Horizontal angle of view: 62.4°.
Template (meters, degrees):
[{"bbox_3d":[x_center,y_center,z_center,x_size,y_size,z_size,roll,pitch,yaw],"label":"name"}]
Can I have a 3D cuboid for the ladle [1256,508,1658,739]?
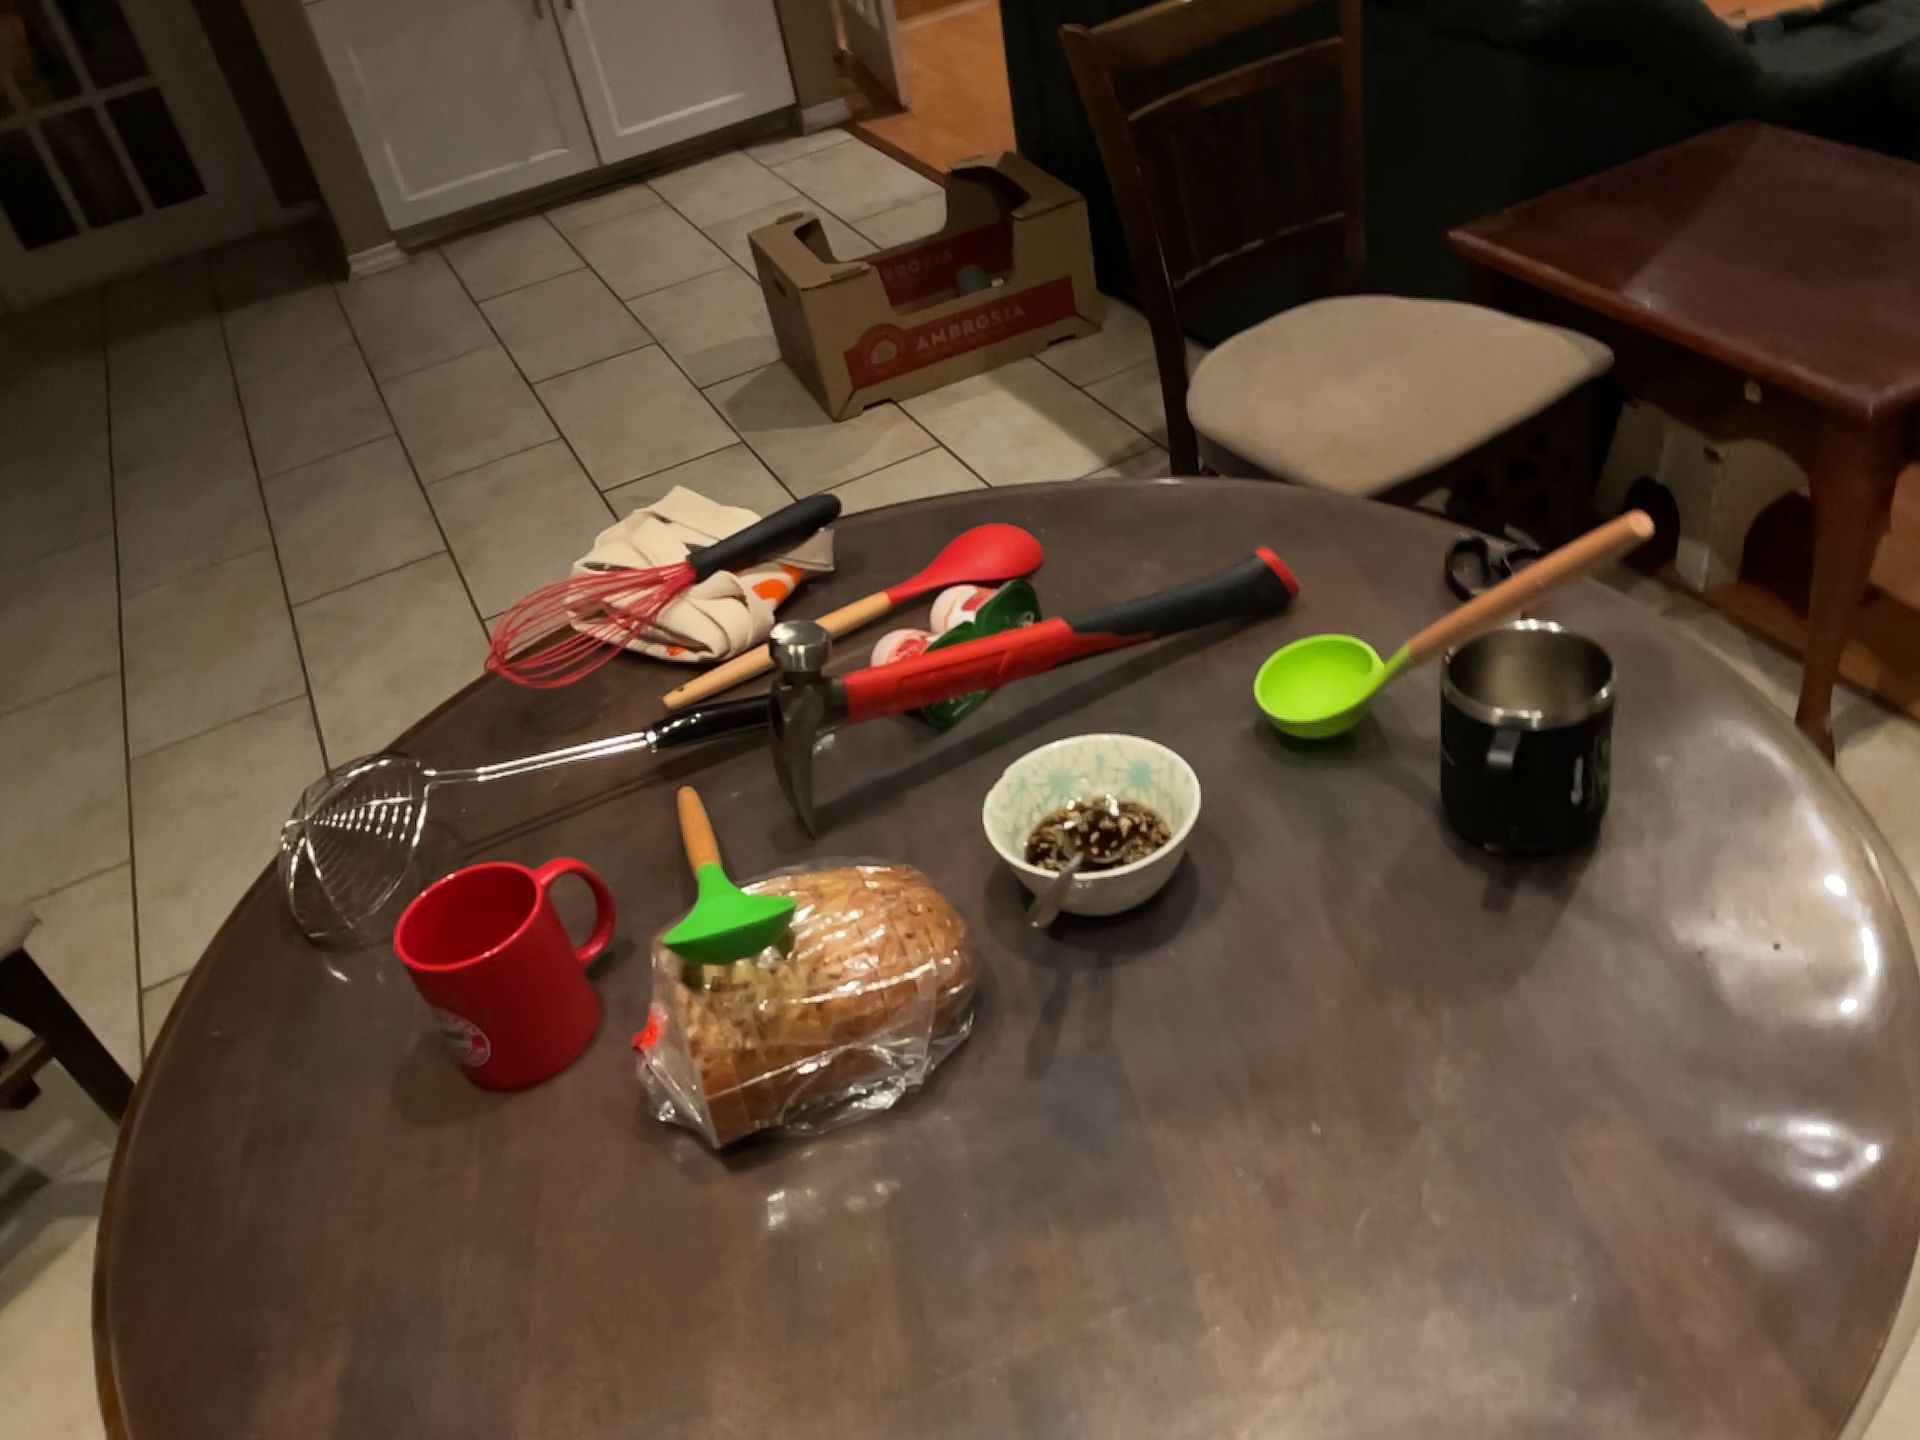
[{"bbox_3d":[0.258,-0.055,0.864,0.062,0.320,0.078,43,67,-1],"label":"ladle"}]

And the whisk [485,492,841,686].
[{"bbox_3d":[-0.214,-0.103,1.168,0.295,0.073,0.073,-29,38,-21],"label":"whisk"}]

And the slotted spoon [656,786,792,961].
[{"bbox_3d":[-0.144,0.080,0.905,0.070,0.031,0.314,-15,14,-10],"label":"slotted spoon"}]

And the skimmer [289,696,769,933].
[{"bbox_3d":[-0.265,0.048,1.066,0.363,0.090,0.127,-13,43,-18],"label":"skimmer"}]

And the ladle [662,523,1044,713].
[{"bbox_3d":[-0.077,-0.078,1.179,0.315,0.031,0.069,-27,38,-15],"label":"ladle"}]

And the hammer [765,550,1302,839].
[{"bbox_3d":[0.058,-0.034,1.041,0.386,0.143,0.038,-15,36,-23],"label":"hammer"}]
